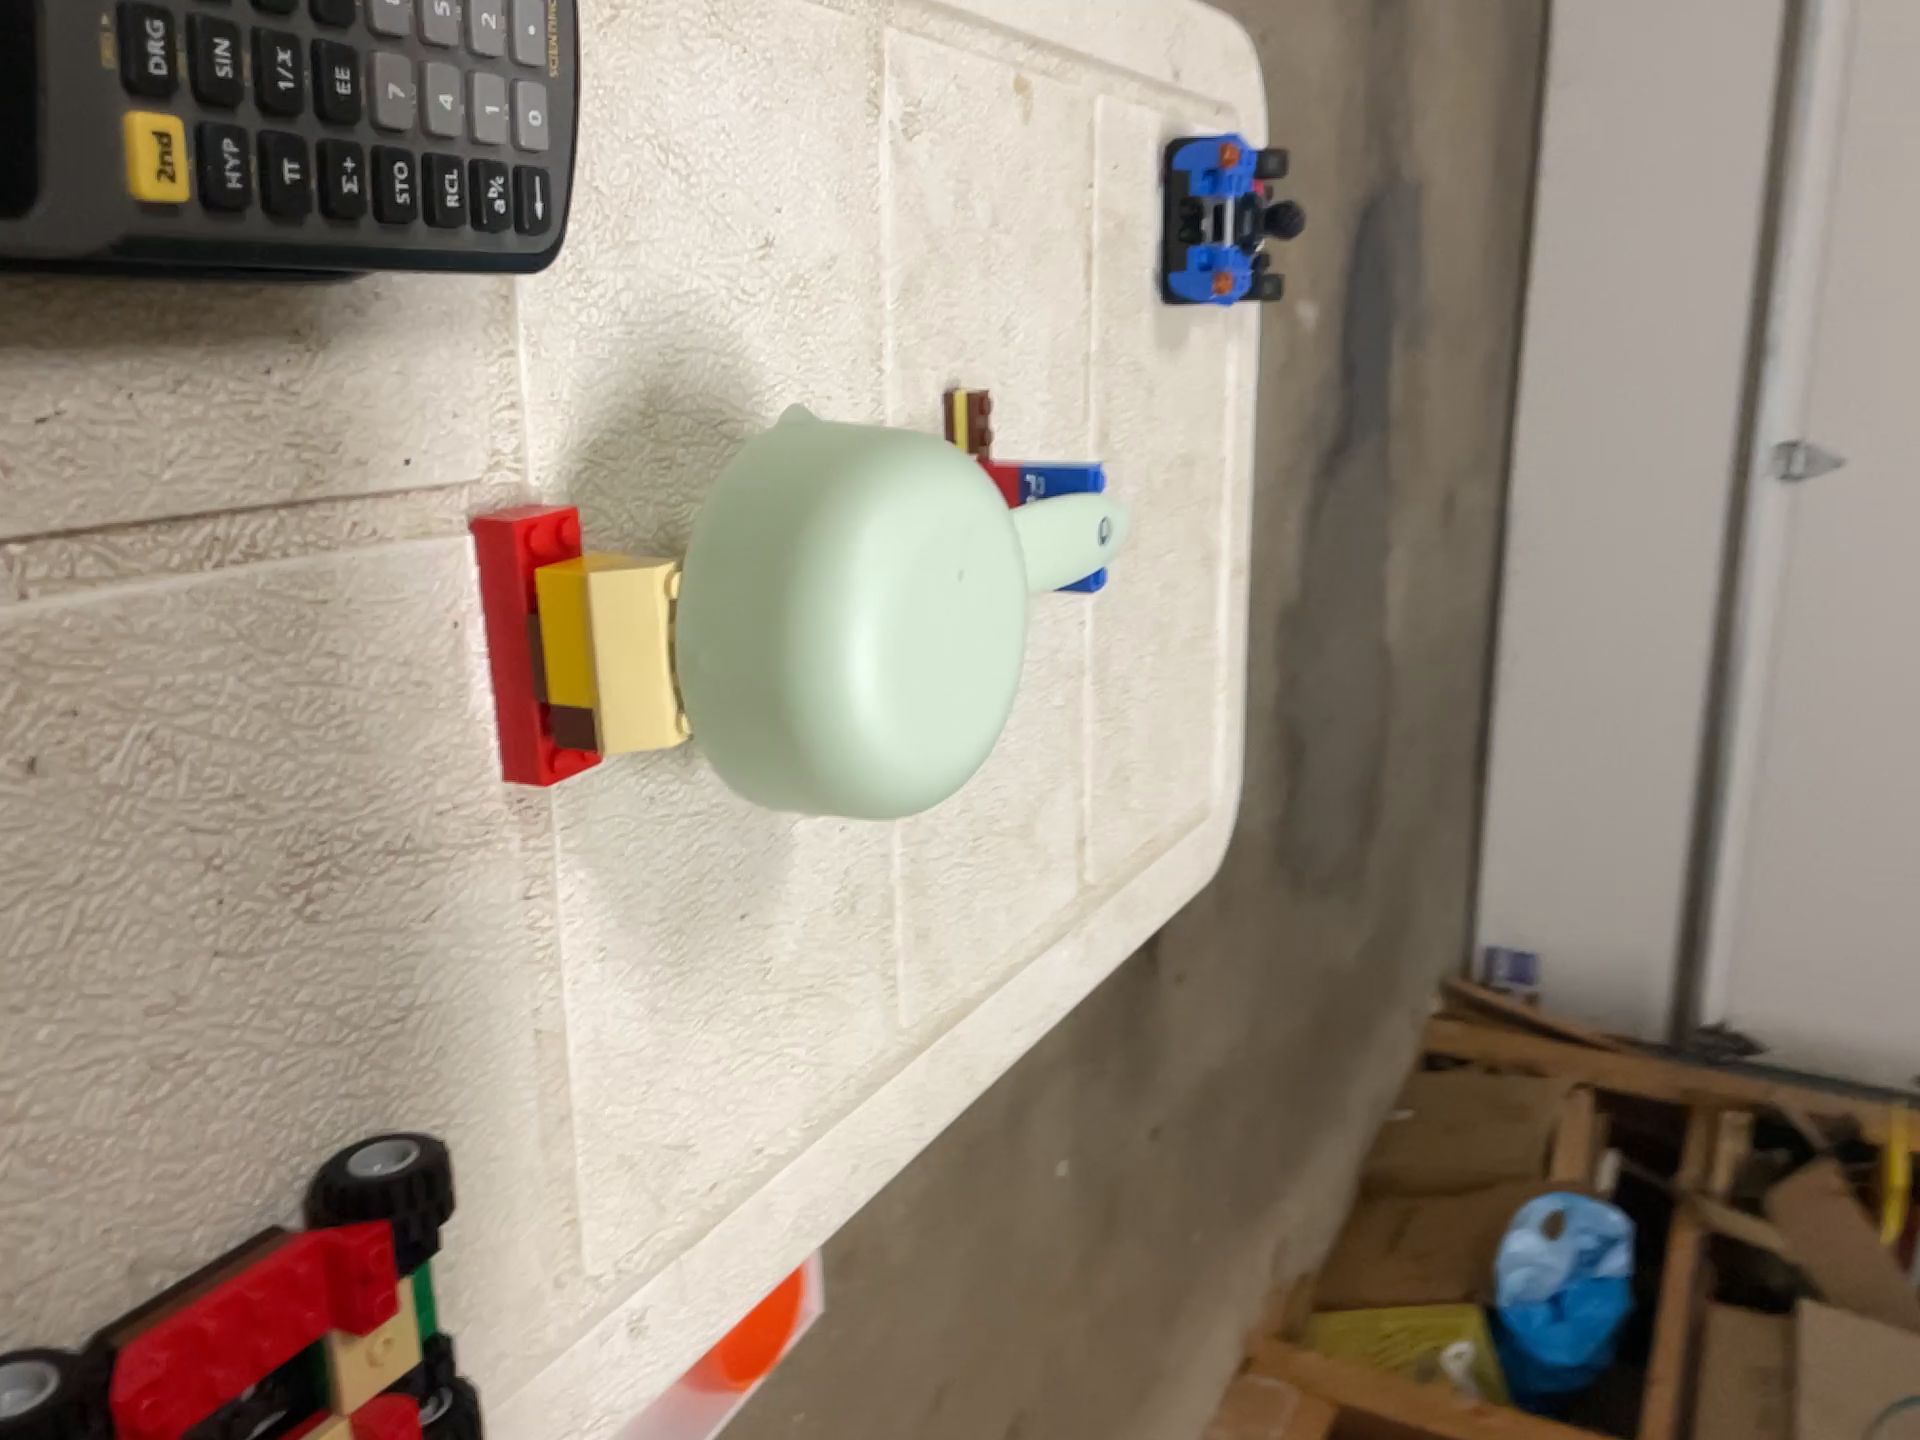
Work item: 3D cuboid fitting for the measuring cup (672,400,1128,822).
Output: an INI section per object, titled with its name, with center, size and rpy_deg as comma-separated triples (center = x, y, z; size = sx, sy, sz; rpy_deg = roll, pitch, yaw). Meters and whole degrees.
[measuring cup]
center = 0.009, -0.029, 0.339
size = 0.168, 0.038, 0.083
rpy_deg = -23, 117, -53
